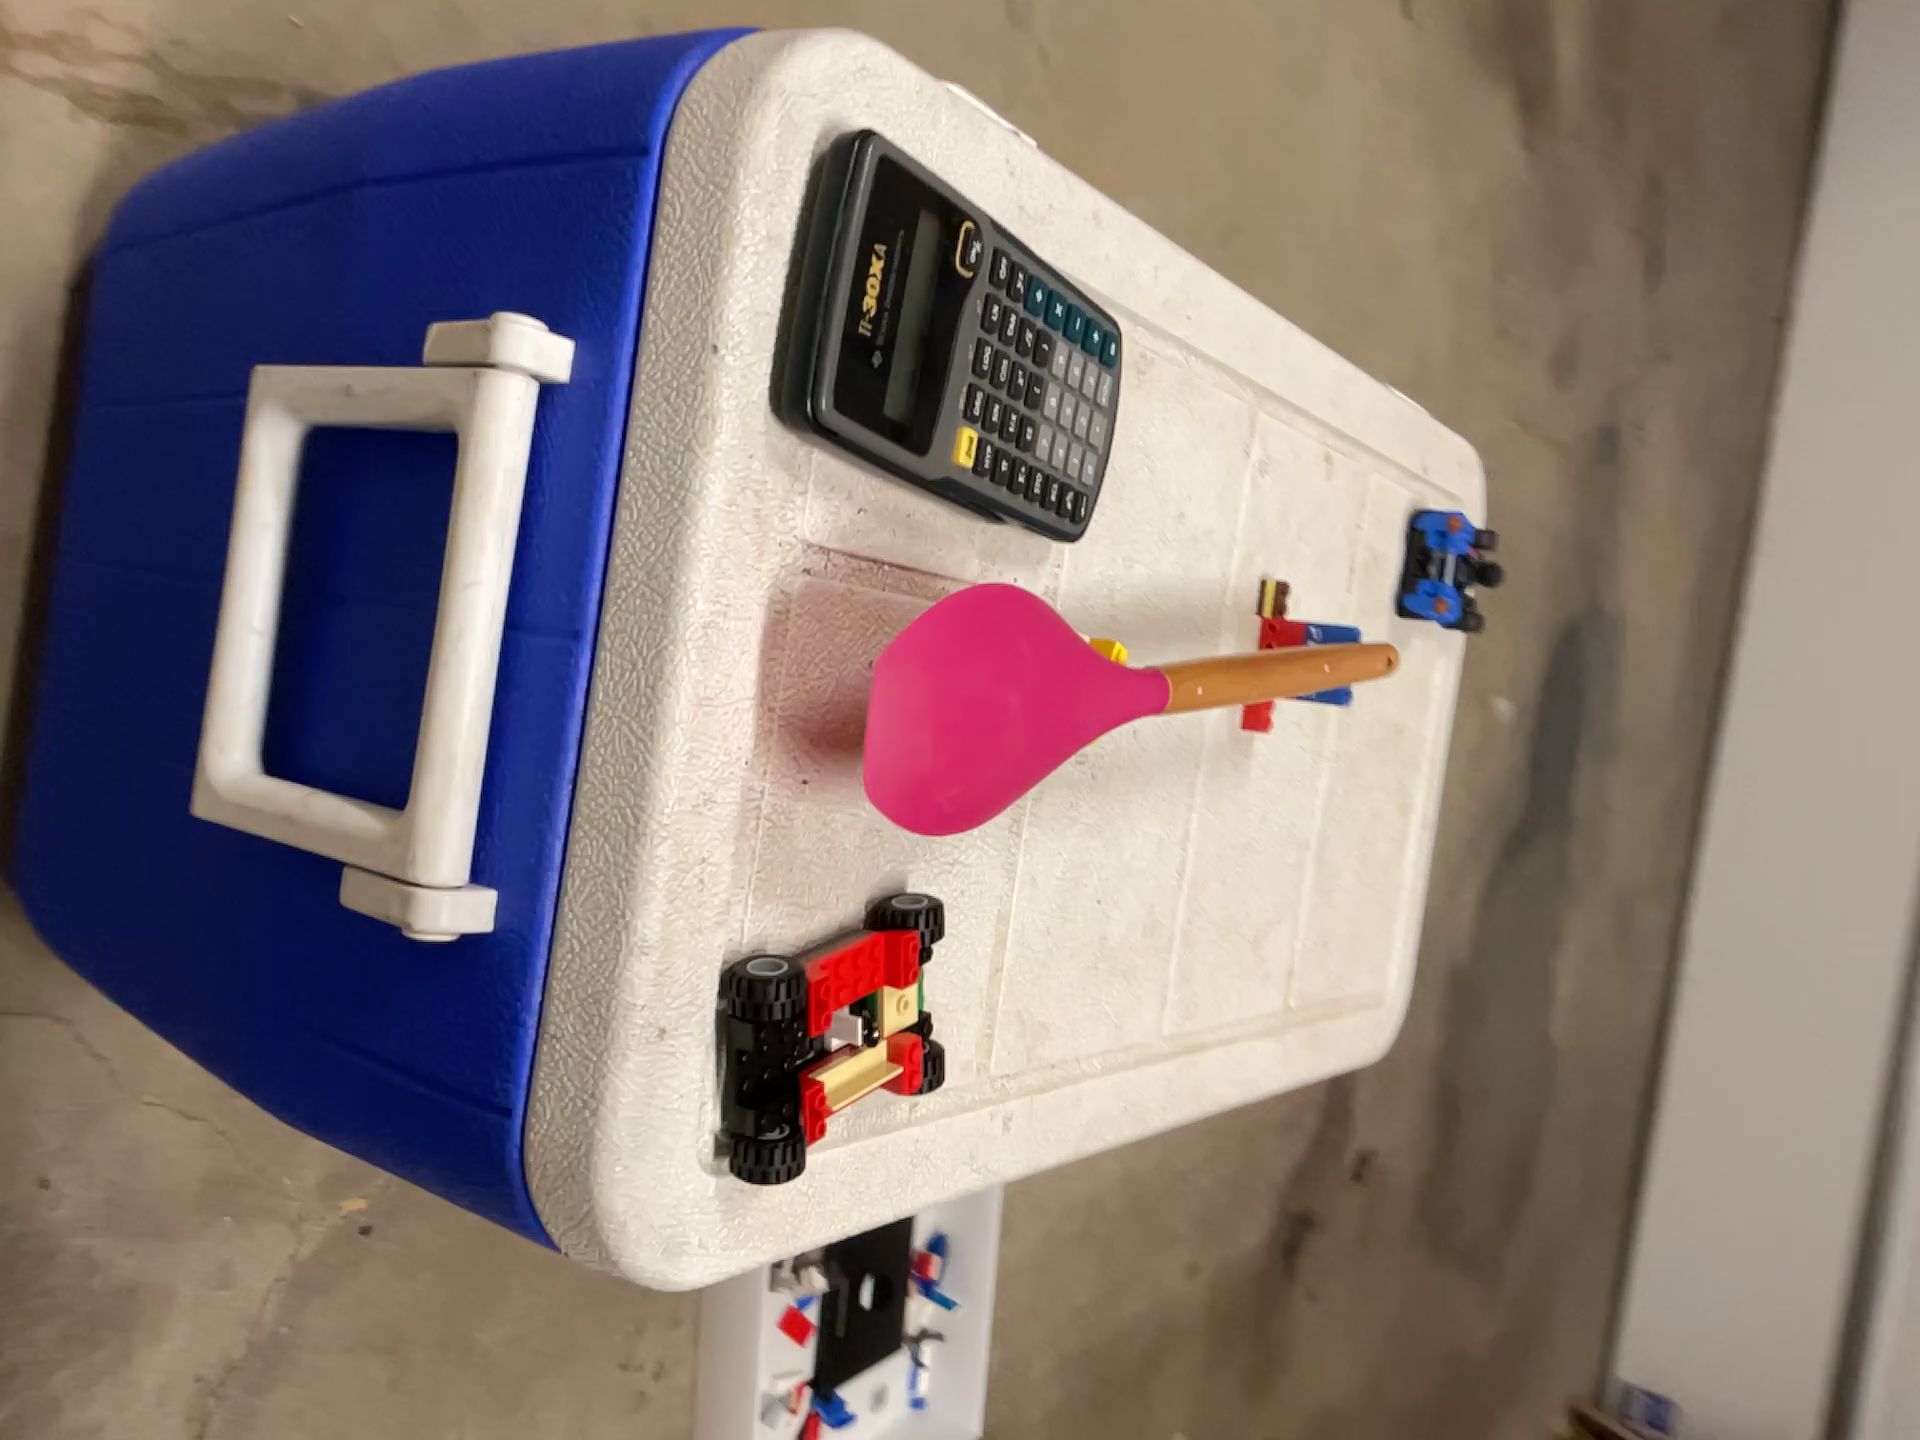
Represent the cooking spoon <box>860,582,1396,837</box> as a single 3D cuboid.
[{"bbox_3d":[0.073,-0.011,0.510,0.319,0.017,0.068,-8,109,-53],"label":"cooking spoon"}]
